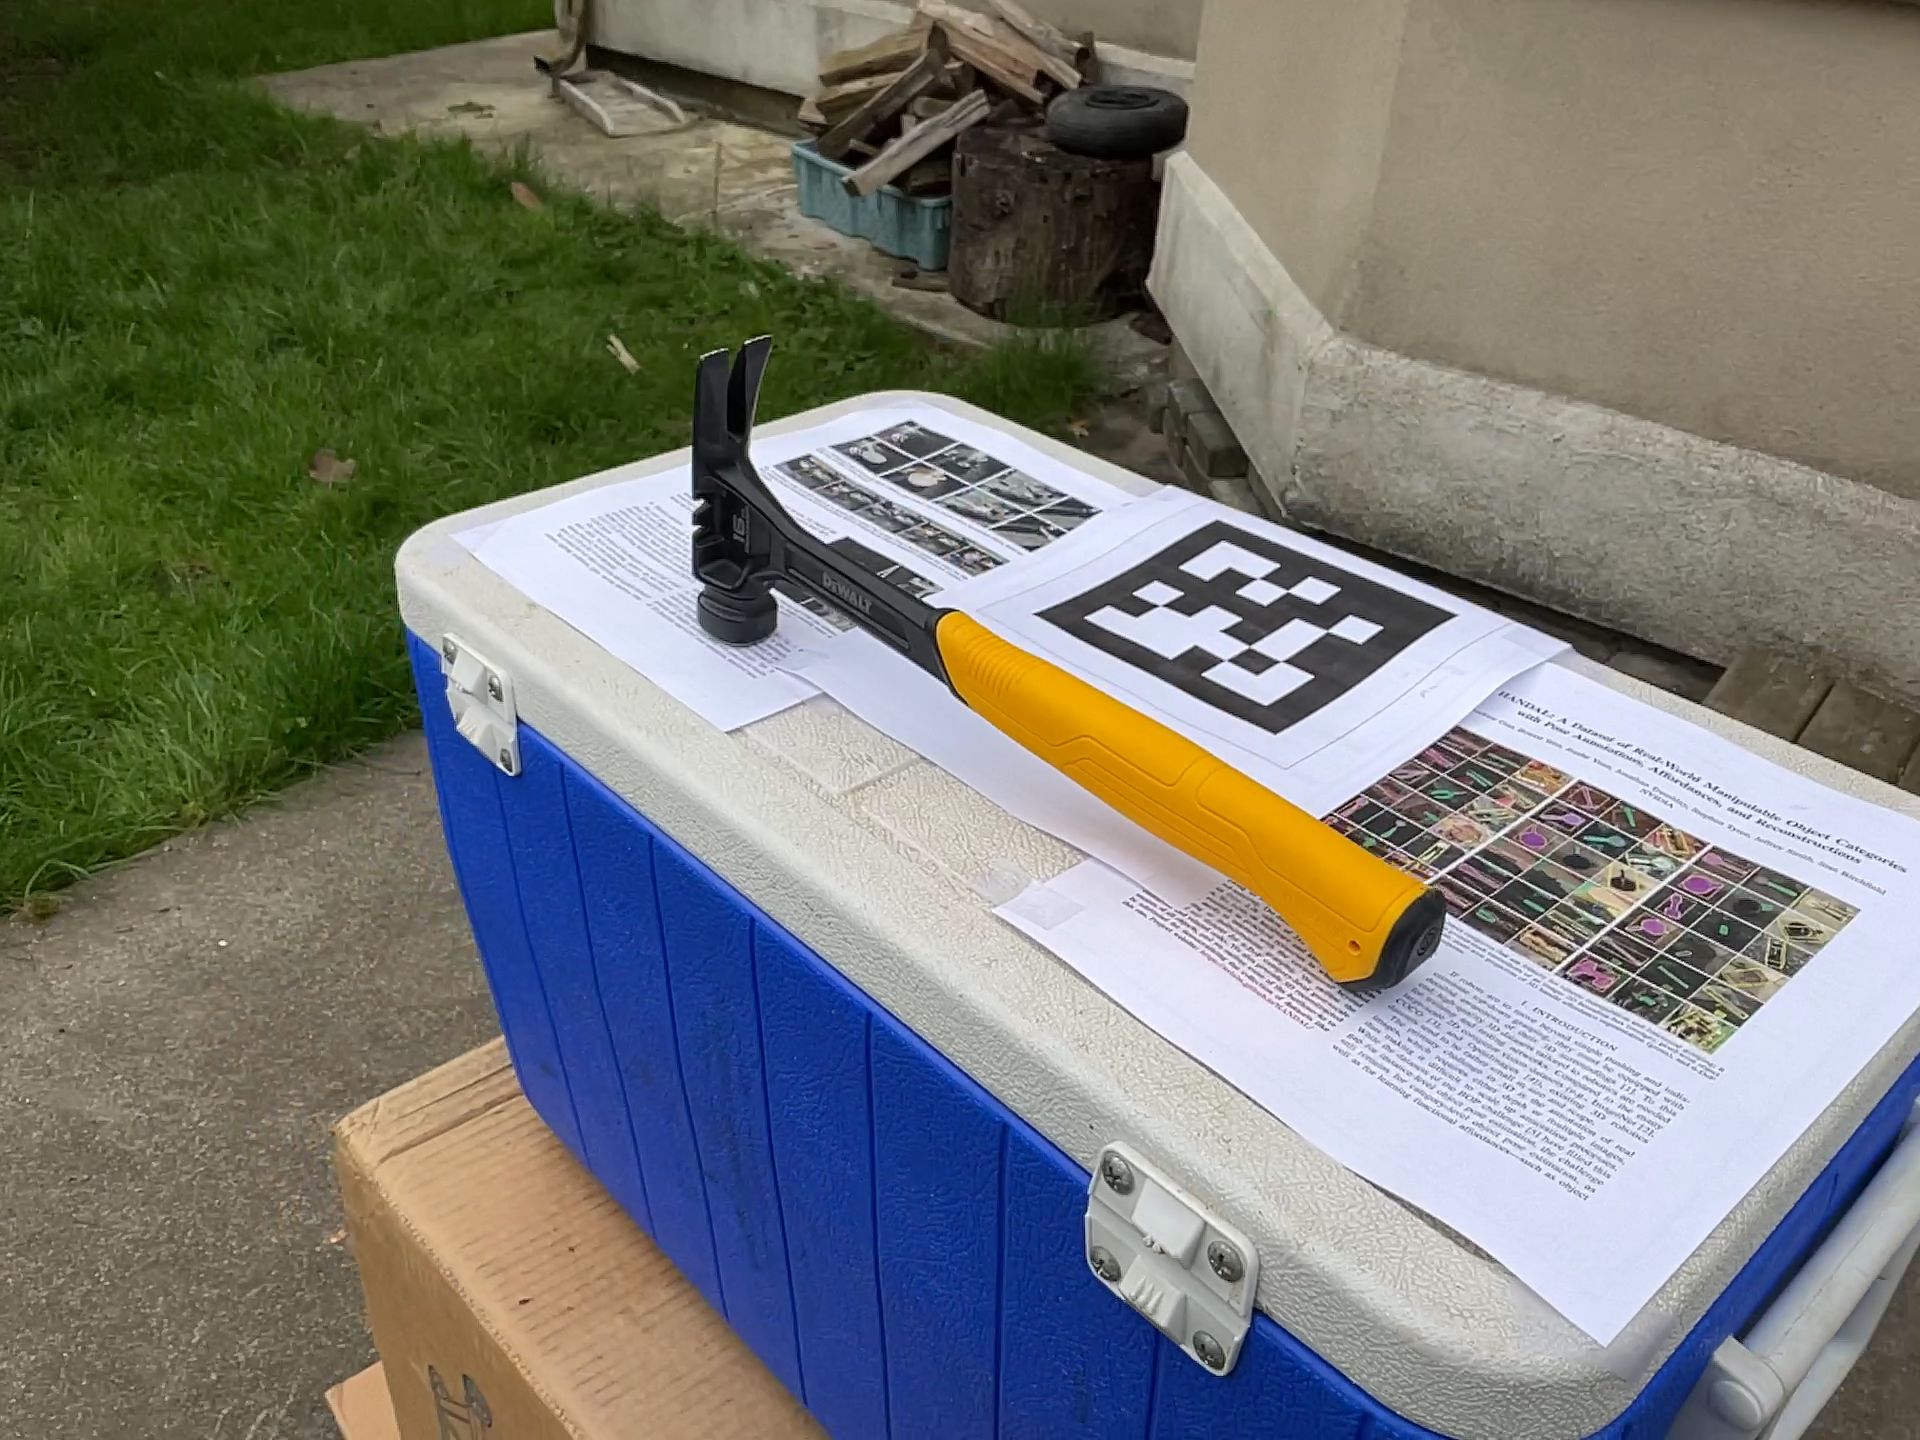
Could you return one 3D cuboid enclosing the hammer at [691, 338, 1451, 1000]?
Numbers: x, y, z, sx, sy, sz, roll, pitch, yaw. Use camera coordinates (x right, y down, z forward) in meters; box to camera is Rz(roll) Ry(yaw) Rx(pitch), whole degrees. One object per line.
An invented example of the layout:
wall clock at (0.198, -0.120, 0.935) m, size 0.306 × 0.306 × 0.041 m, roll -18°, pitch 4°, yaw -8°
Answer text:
hammer at (0.020, -0.016, 0.554) m, size 0.337 × 0.127 × 0.034 m, roll 34°, pitch 44°, yaw 32°
